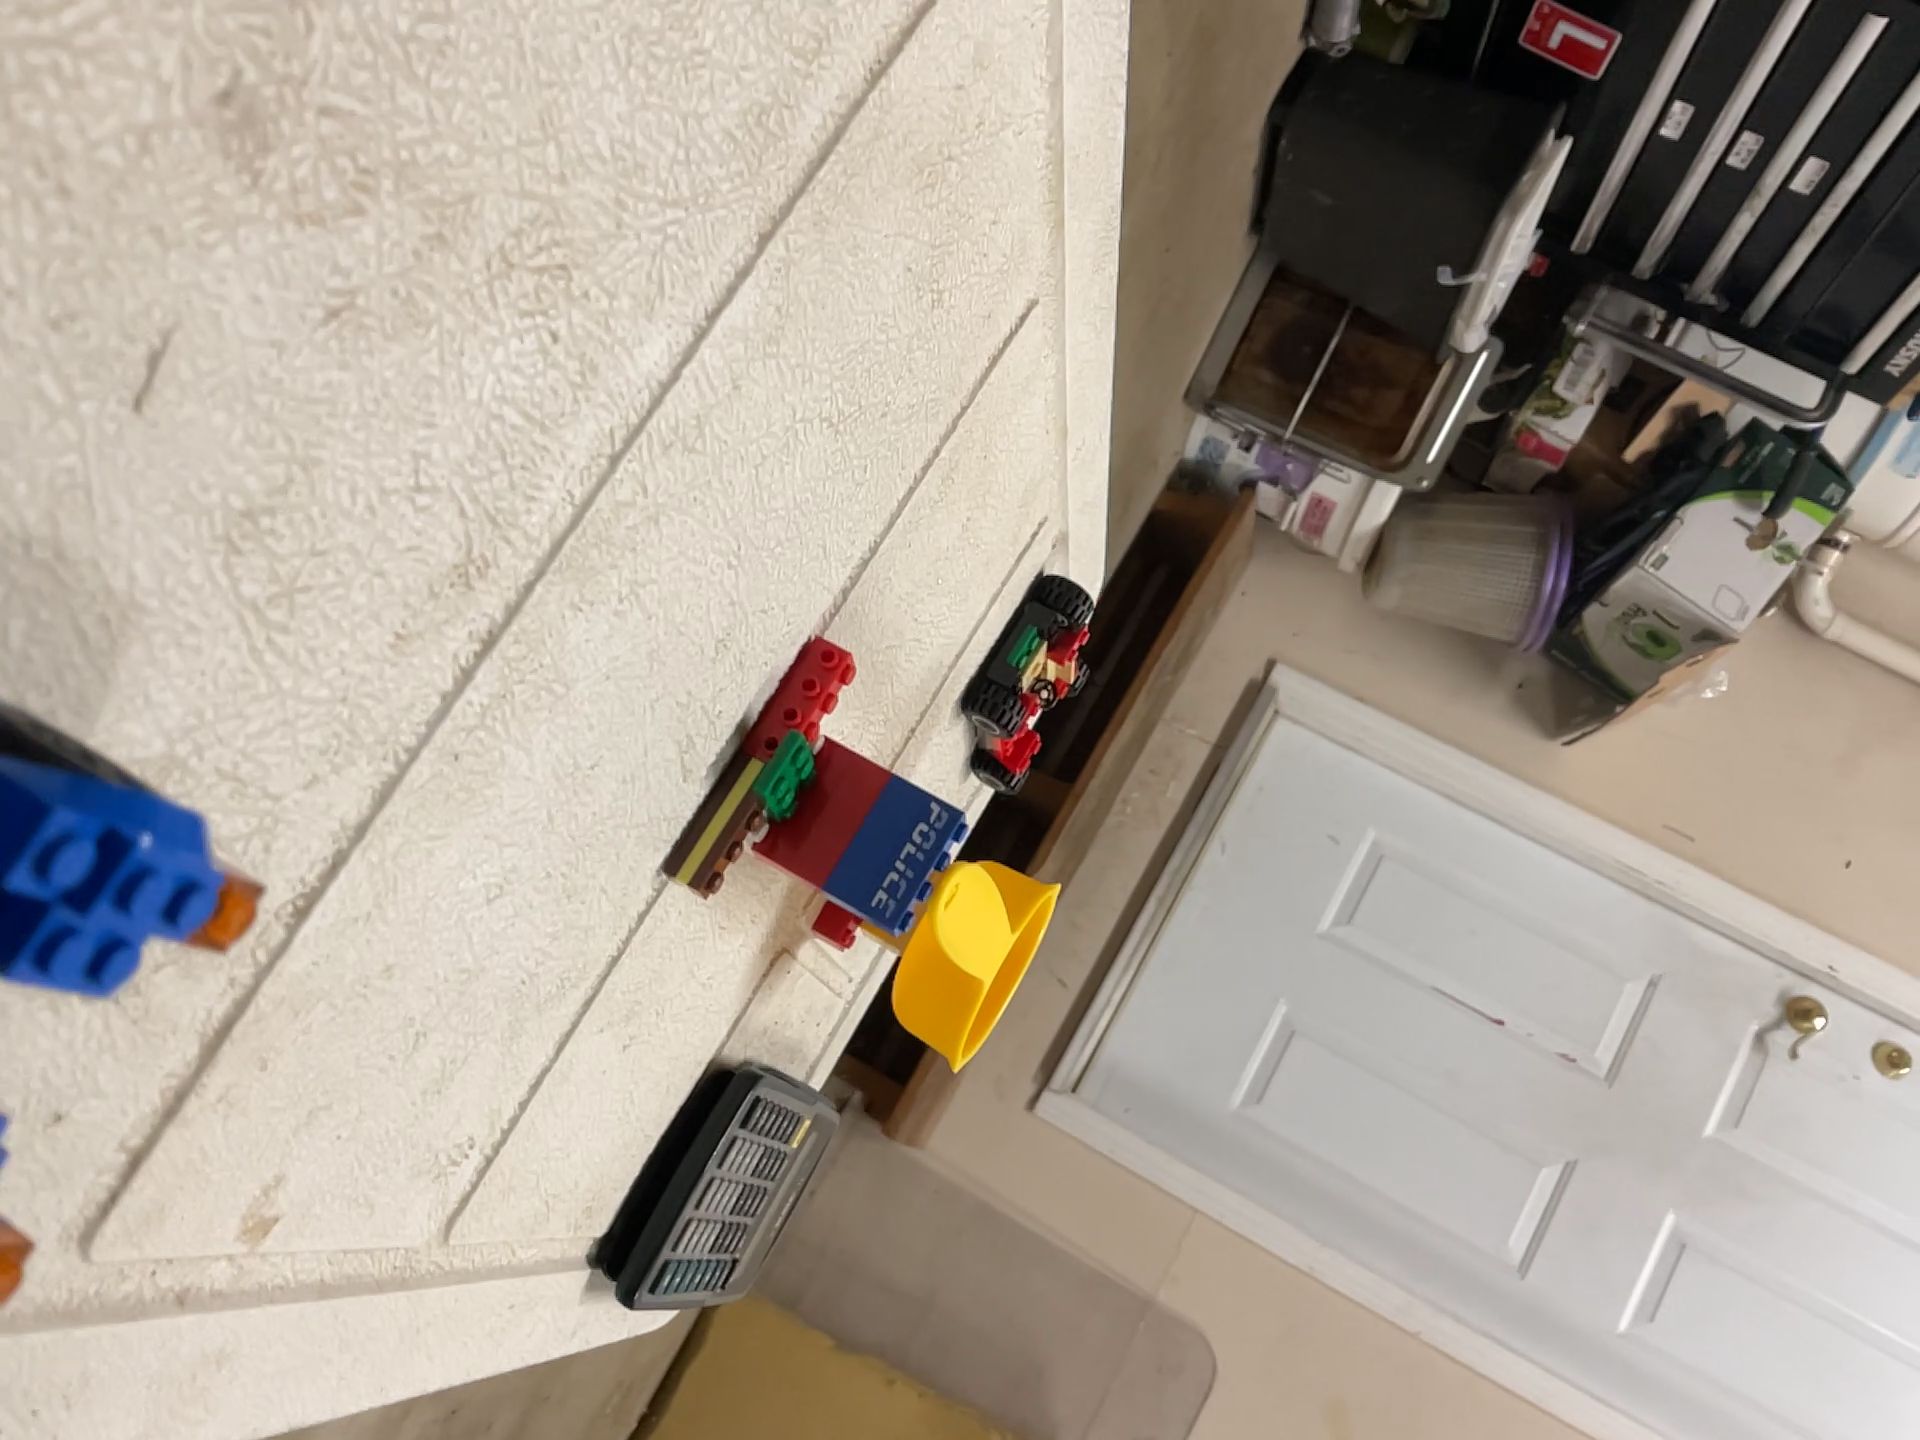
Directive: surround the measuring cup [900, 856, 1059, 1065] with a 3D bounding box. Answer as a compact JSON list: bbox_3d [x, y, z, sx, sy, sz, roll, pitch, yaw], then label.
[{"bbox_3d":[-0.003,0.056,0.444,0.062,0.029,0.156,-59,164,-12],"label":"measuring cup"}]
